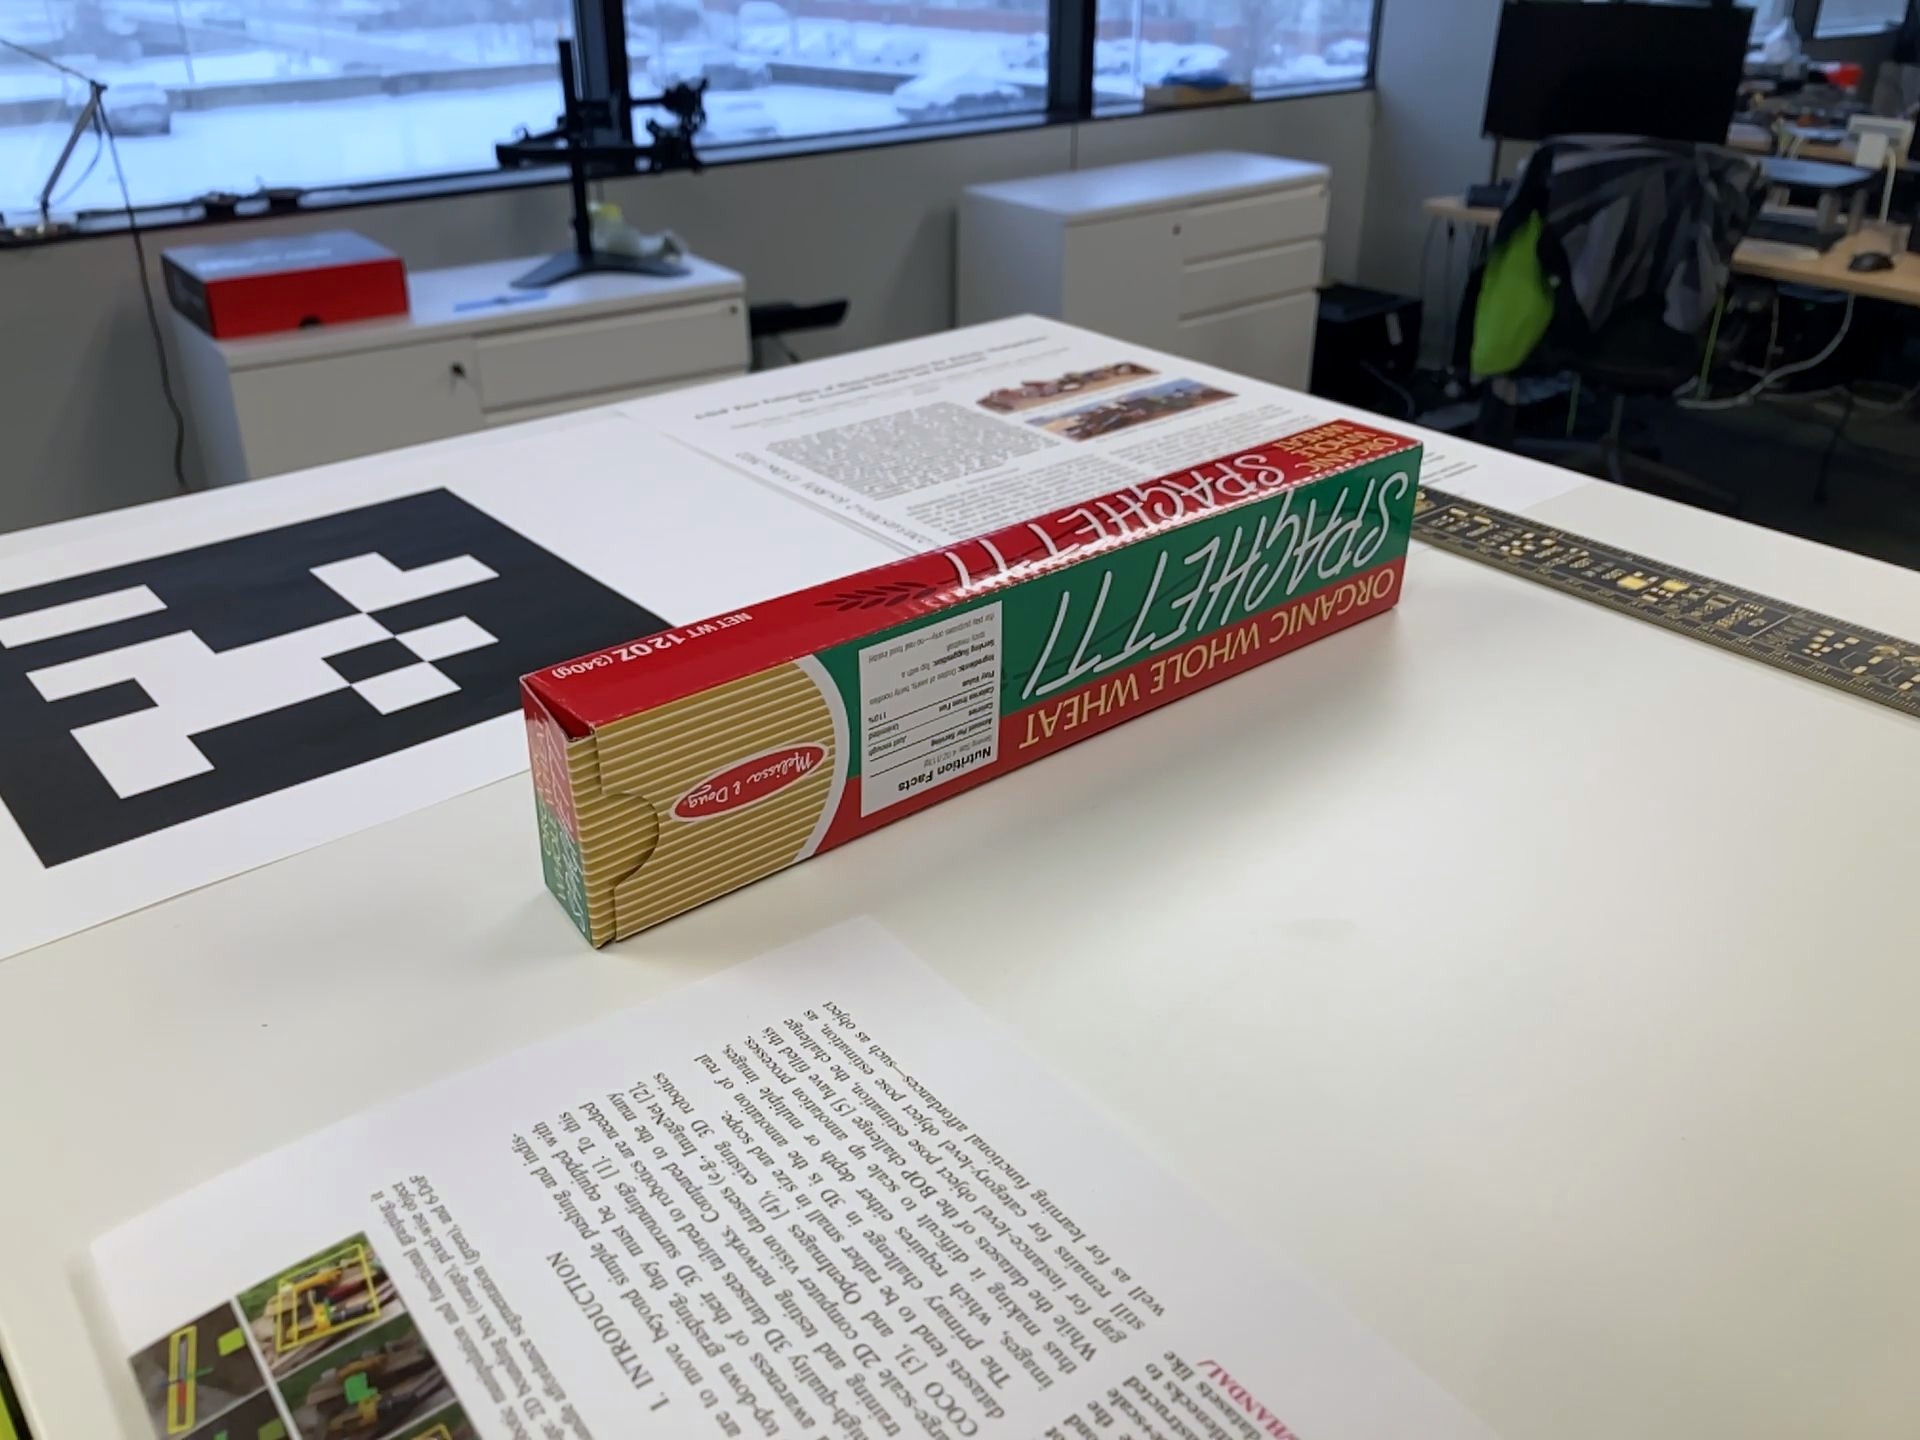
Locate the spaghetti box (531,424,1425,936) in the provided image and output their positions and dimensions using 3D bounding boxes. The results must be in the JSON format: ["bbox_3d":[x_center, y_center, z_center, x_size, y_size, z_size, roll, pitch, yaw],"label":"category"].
[{"bbox_3d":[0.021,-0.020,0.374,0.250,0.050,0.028,-21,37,-35],"label":"spaghetti box"}]
